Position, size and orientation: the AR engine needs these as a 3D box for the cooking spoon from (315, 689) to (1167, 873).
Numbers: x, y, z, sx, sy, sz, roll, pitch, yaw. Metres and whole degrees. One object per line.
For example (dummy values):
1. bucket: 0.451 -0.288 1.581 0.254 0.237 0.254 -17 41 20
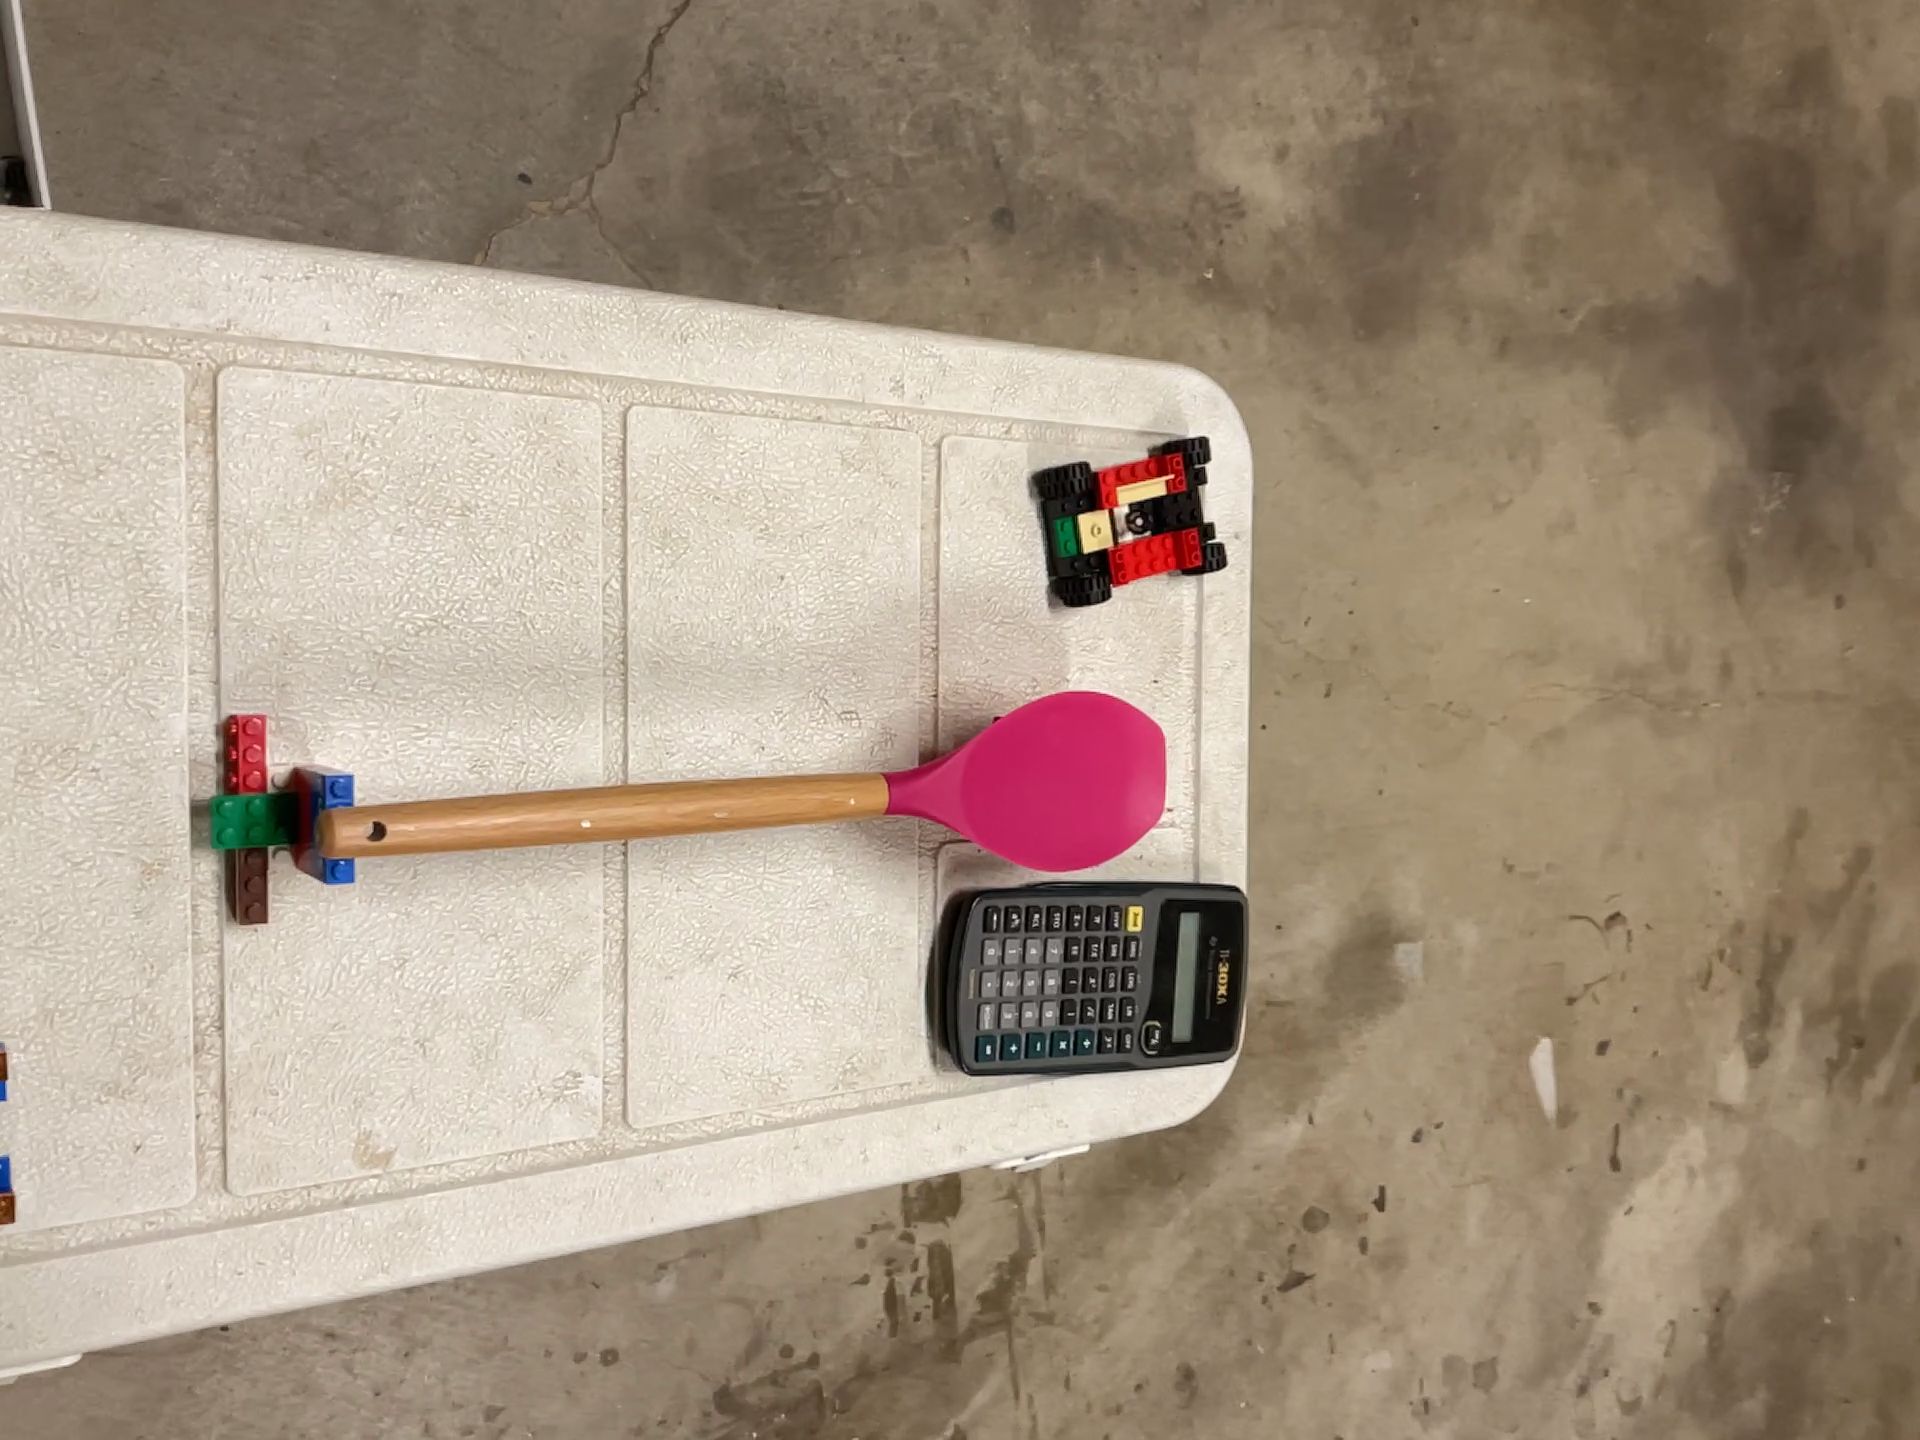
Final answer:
1. cooking spoon: -0.050 0.026 0.541 0.319 0.017 0.068 -2 93 -35
